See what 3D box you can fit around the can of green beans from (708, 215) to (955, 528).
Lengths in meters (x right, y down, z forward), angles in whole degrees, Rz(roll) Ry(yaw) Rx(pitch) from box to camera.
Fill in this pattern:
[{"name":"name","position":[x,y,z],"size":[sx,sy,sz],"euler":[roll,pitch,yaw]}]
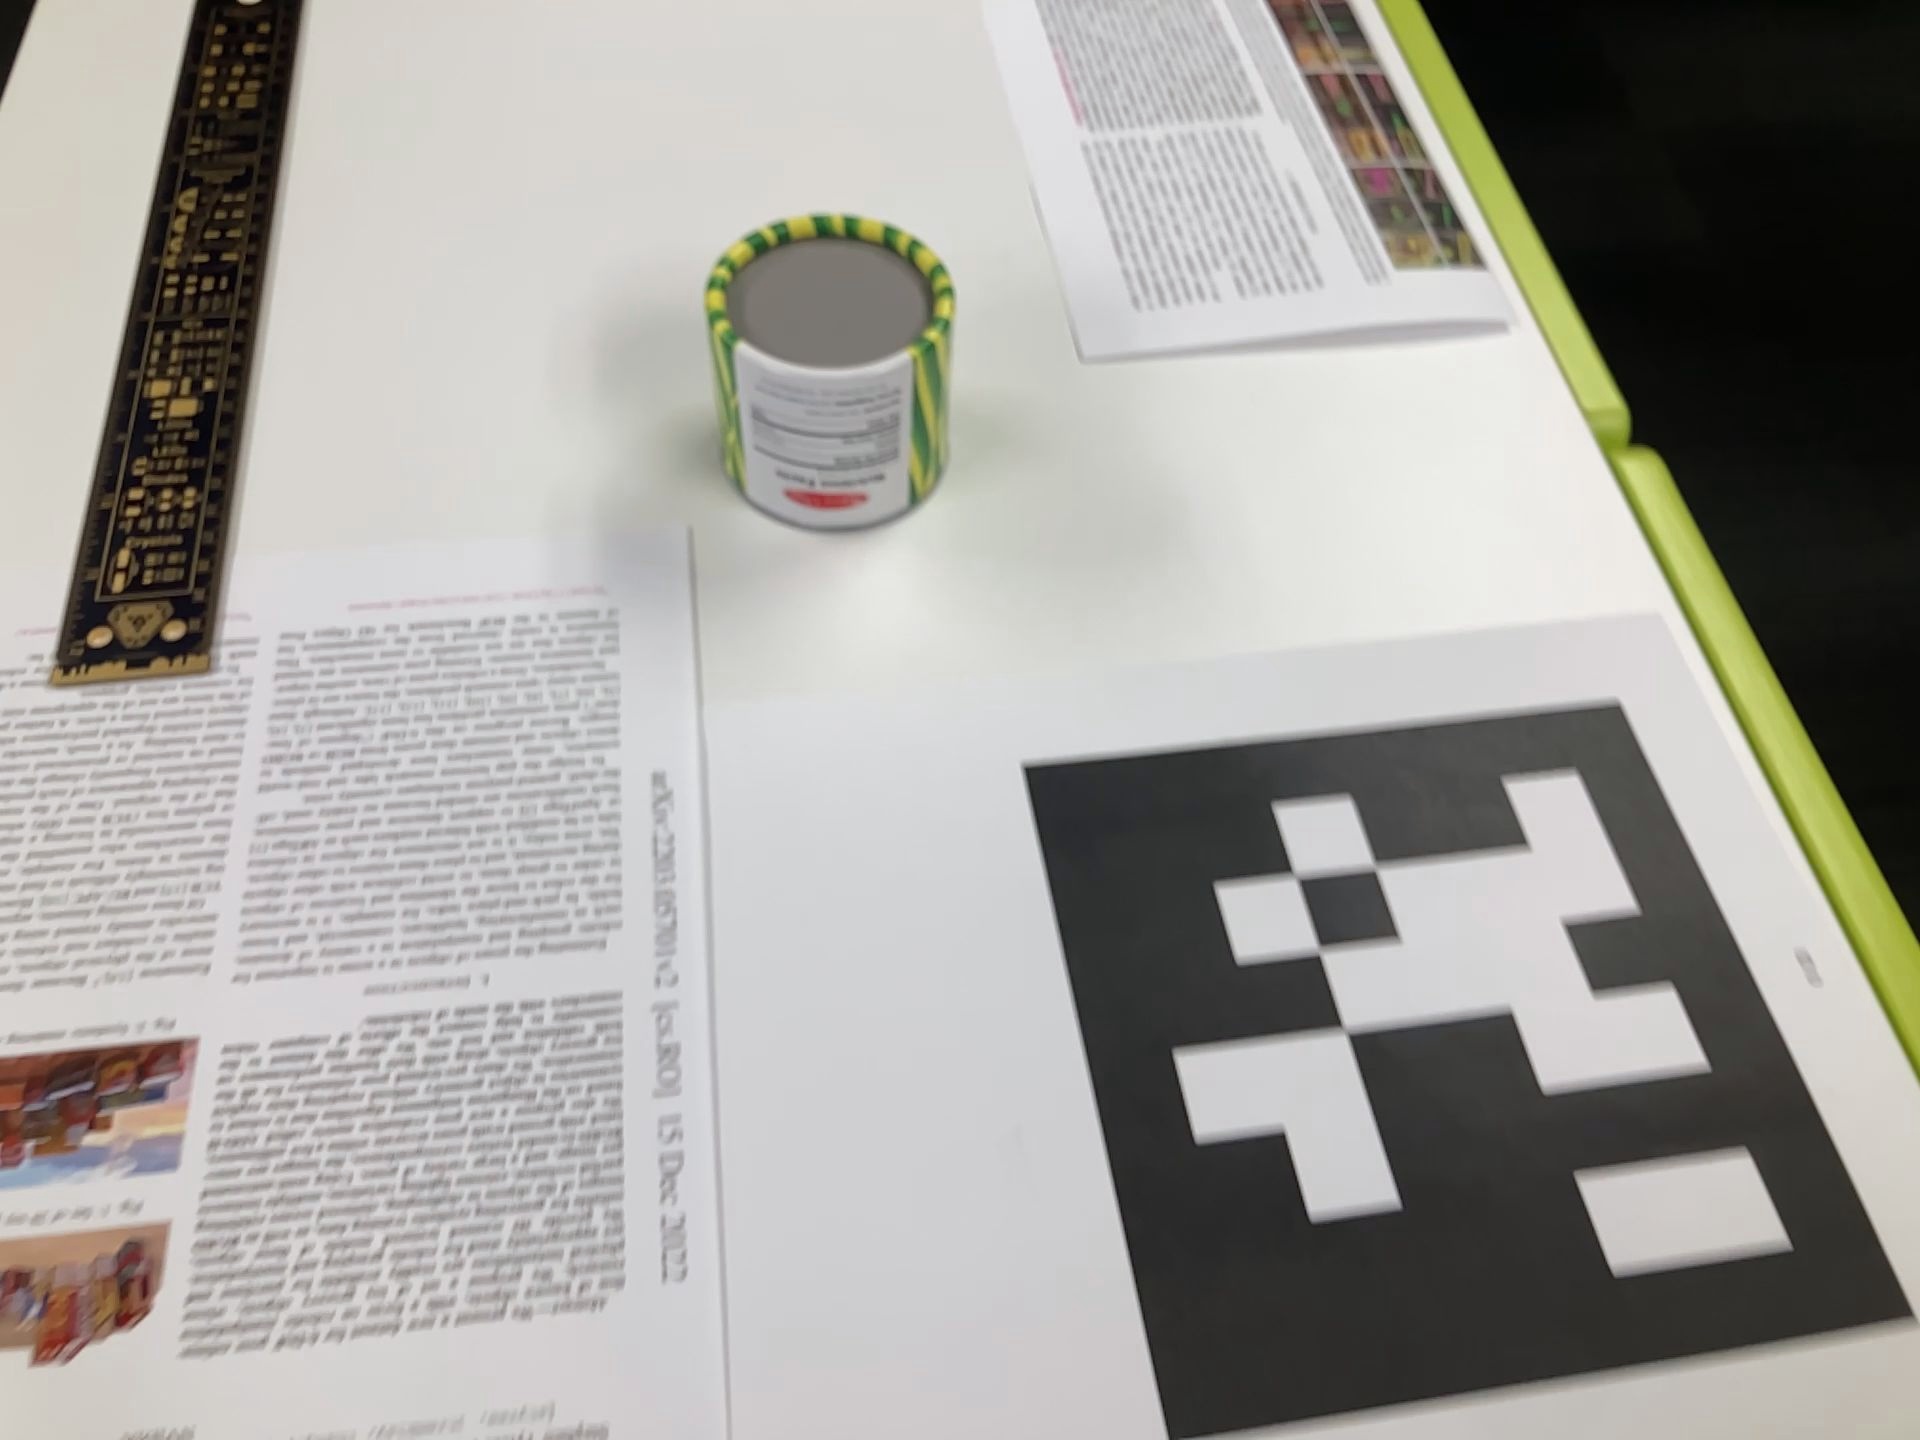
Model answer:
[{"name":"can of green beans","position":[-0.035,-0.098,0.447],"size":[0.071,0.058,0.071],"euler":[1,55,-2]}]
